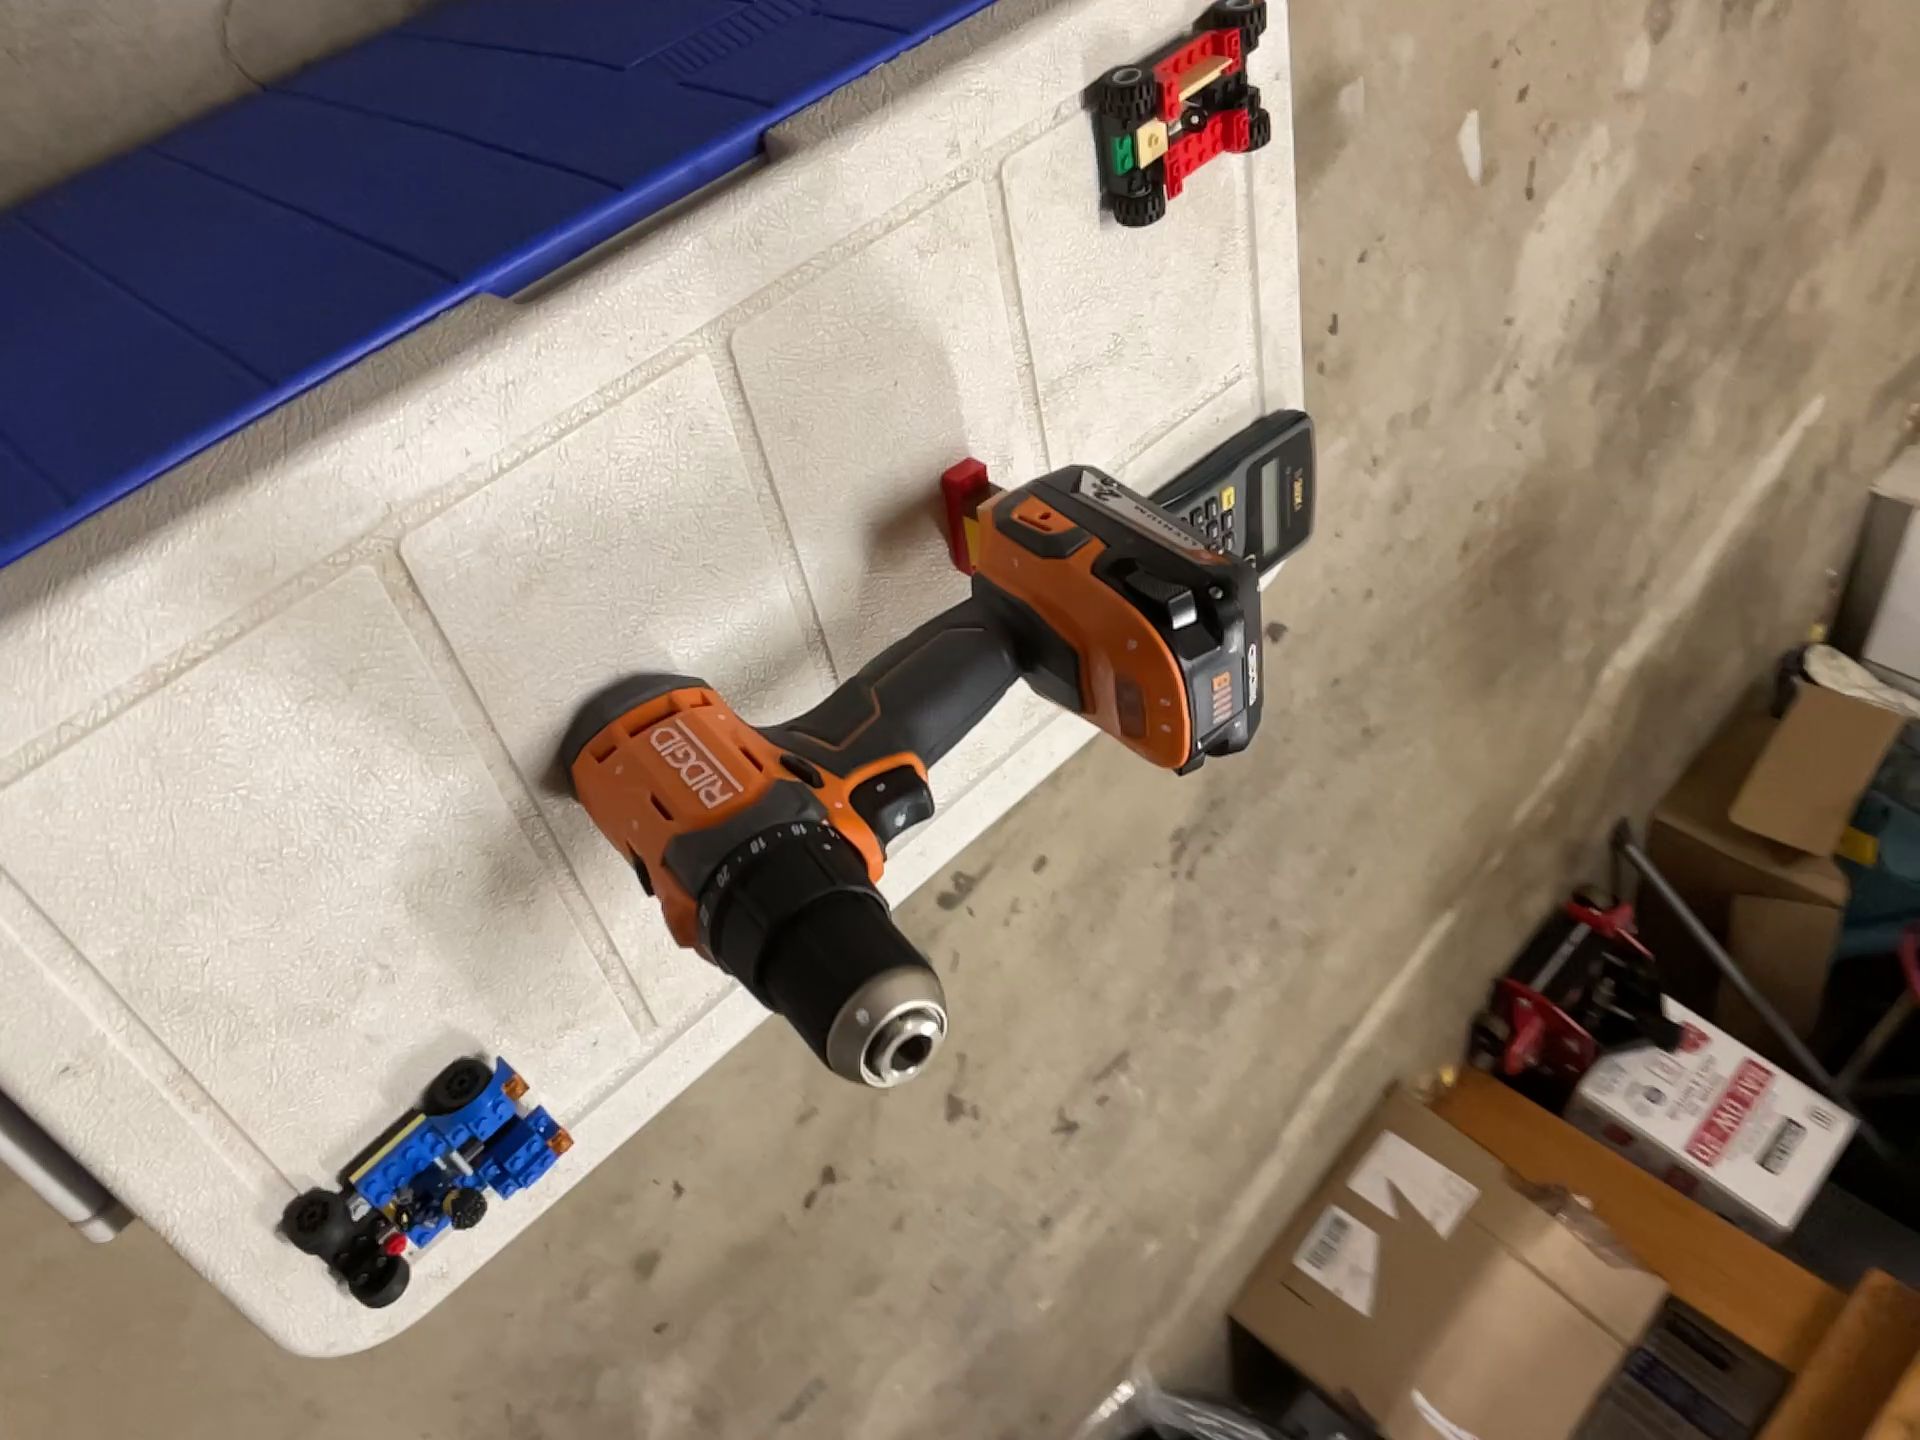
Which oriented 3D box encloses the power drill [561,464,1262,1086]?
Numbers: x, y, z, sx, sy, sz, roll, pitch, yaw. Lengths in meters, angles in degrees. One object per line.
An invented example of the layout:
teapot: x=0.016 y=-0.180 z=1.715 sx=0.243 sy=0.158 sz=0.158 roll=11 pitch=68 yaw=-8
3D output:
power drill: x=0.000 y=0.013 z=0.541 sx=0.226 sy=0.185 sz=0.084 roll=-29 pitch=133 yaw=-20
